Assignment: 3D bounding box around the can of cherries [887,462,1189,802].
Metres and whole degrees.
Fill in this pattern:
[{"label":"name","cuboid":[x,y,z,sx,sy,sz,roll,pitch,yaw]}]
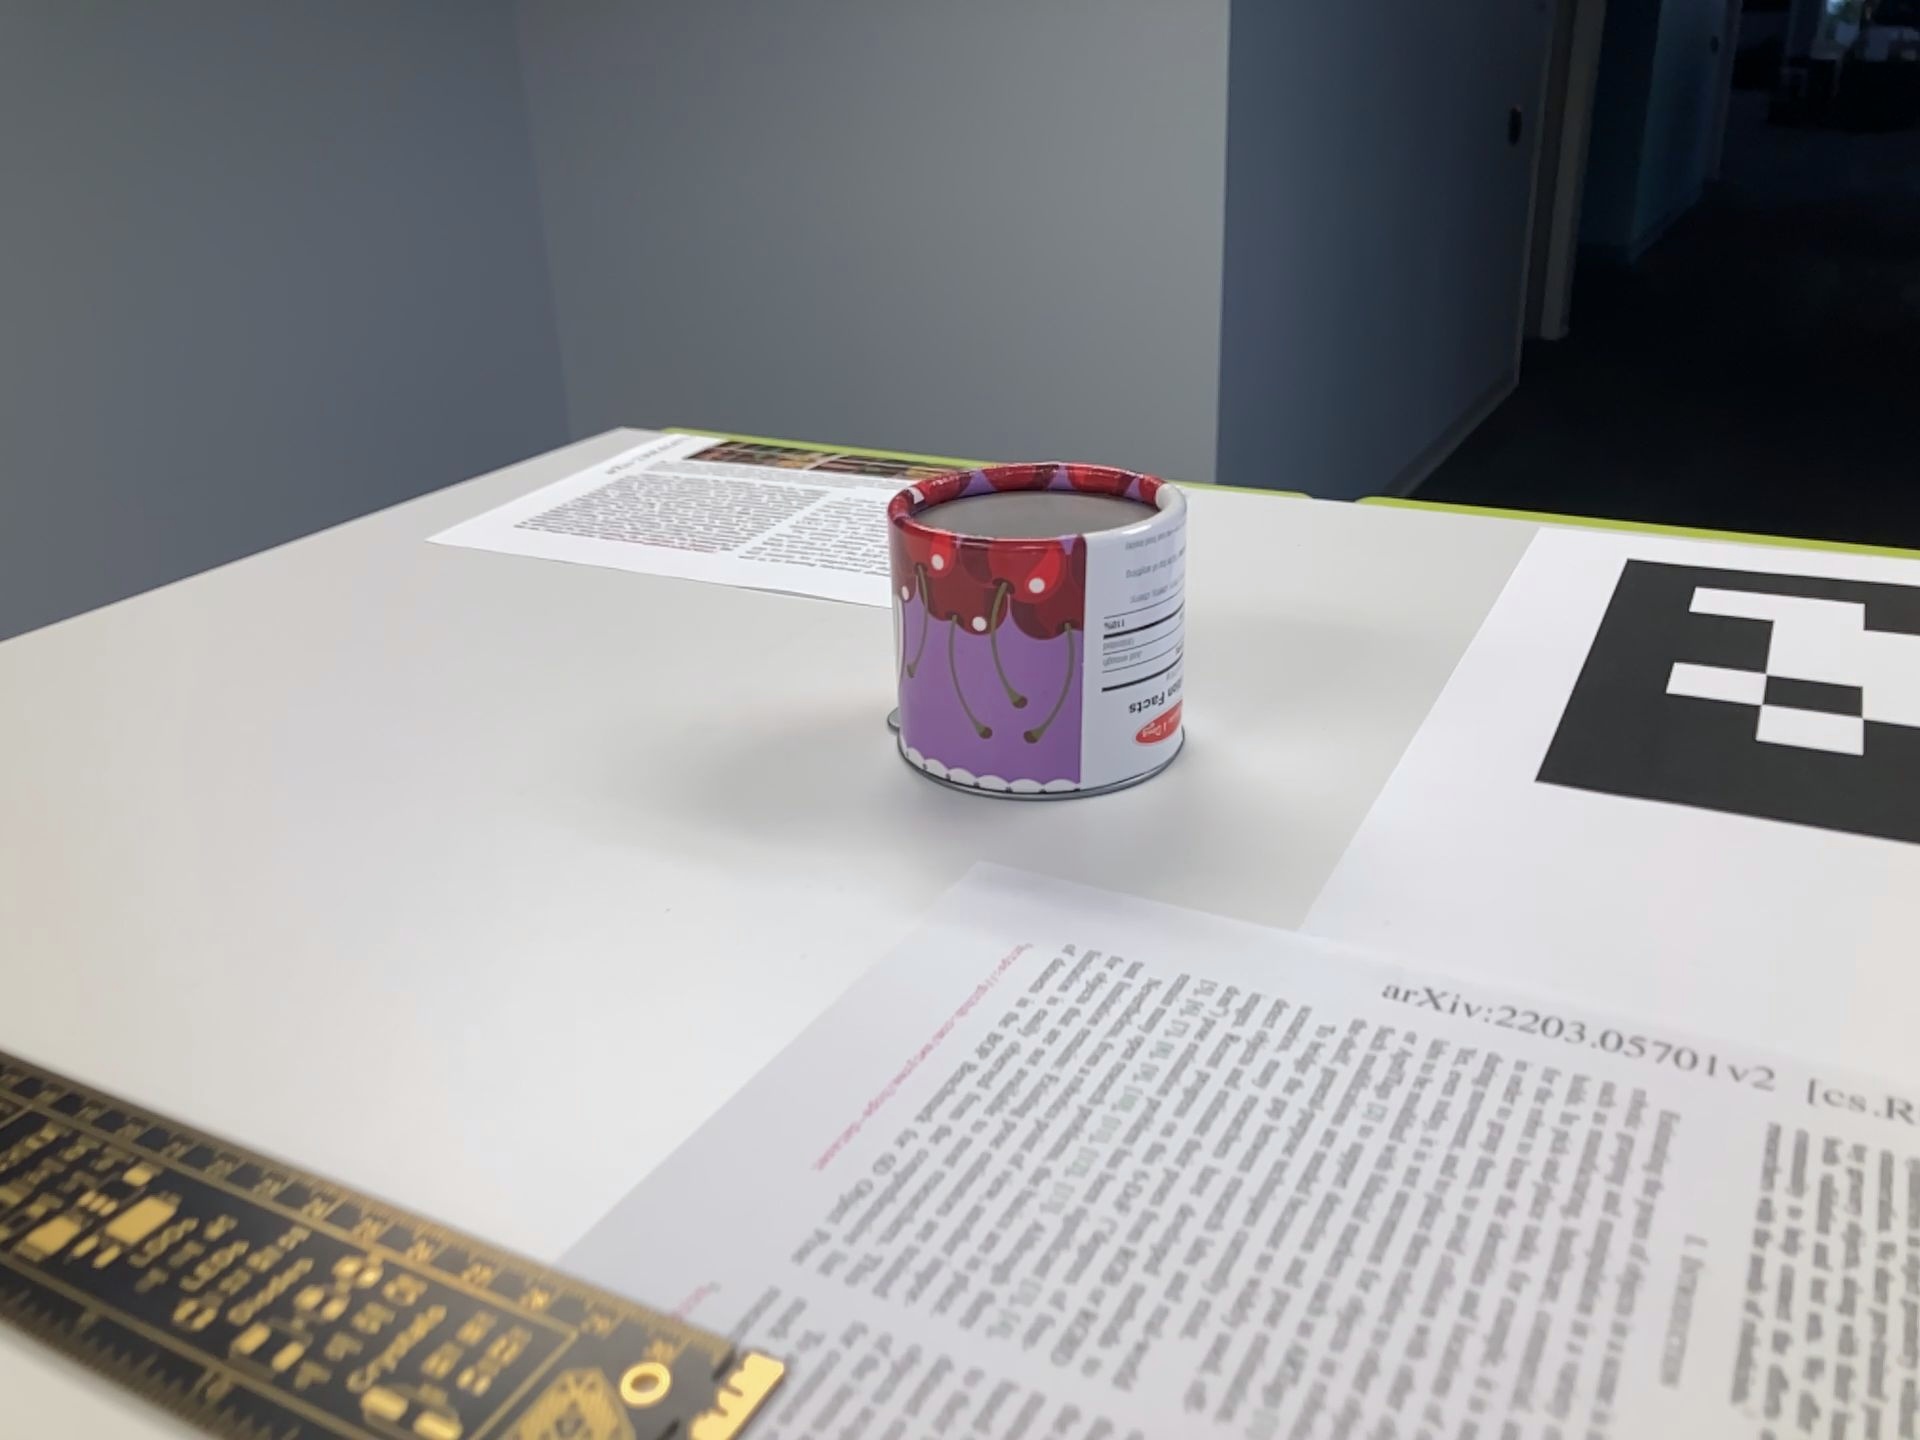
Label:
[{"label":"can of cherries","cuboid":[0.015,-0.022,0.353,0.071,0.058,0.071,-2,24,1]}]
